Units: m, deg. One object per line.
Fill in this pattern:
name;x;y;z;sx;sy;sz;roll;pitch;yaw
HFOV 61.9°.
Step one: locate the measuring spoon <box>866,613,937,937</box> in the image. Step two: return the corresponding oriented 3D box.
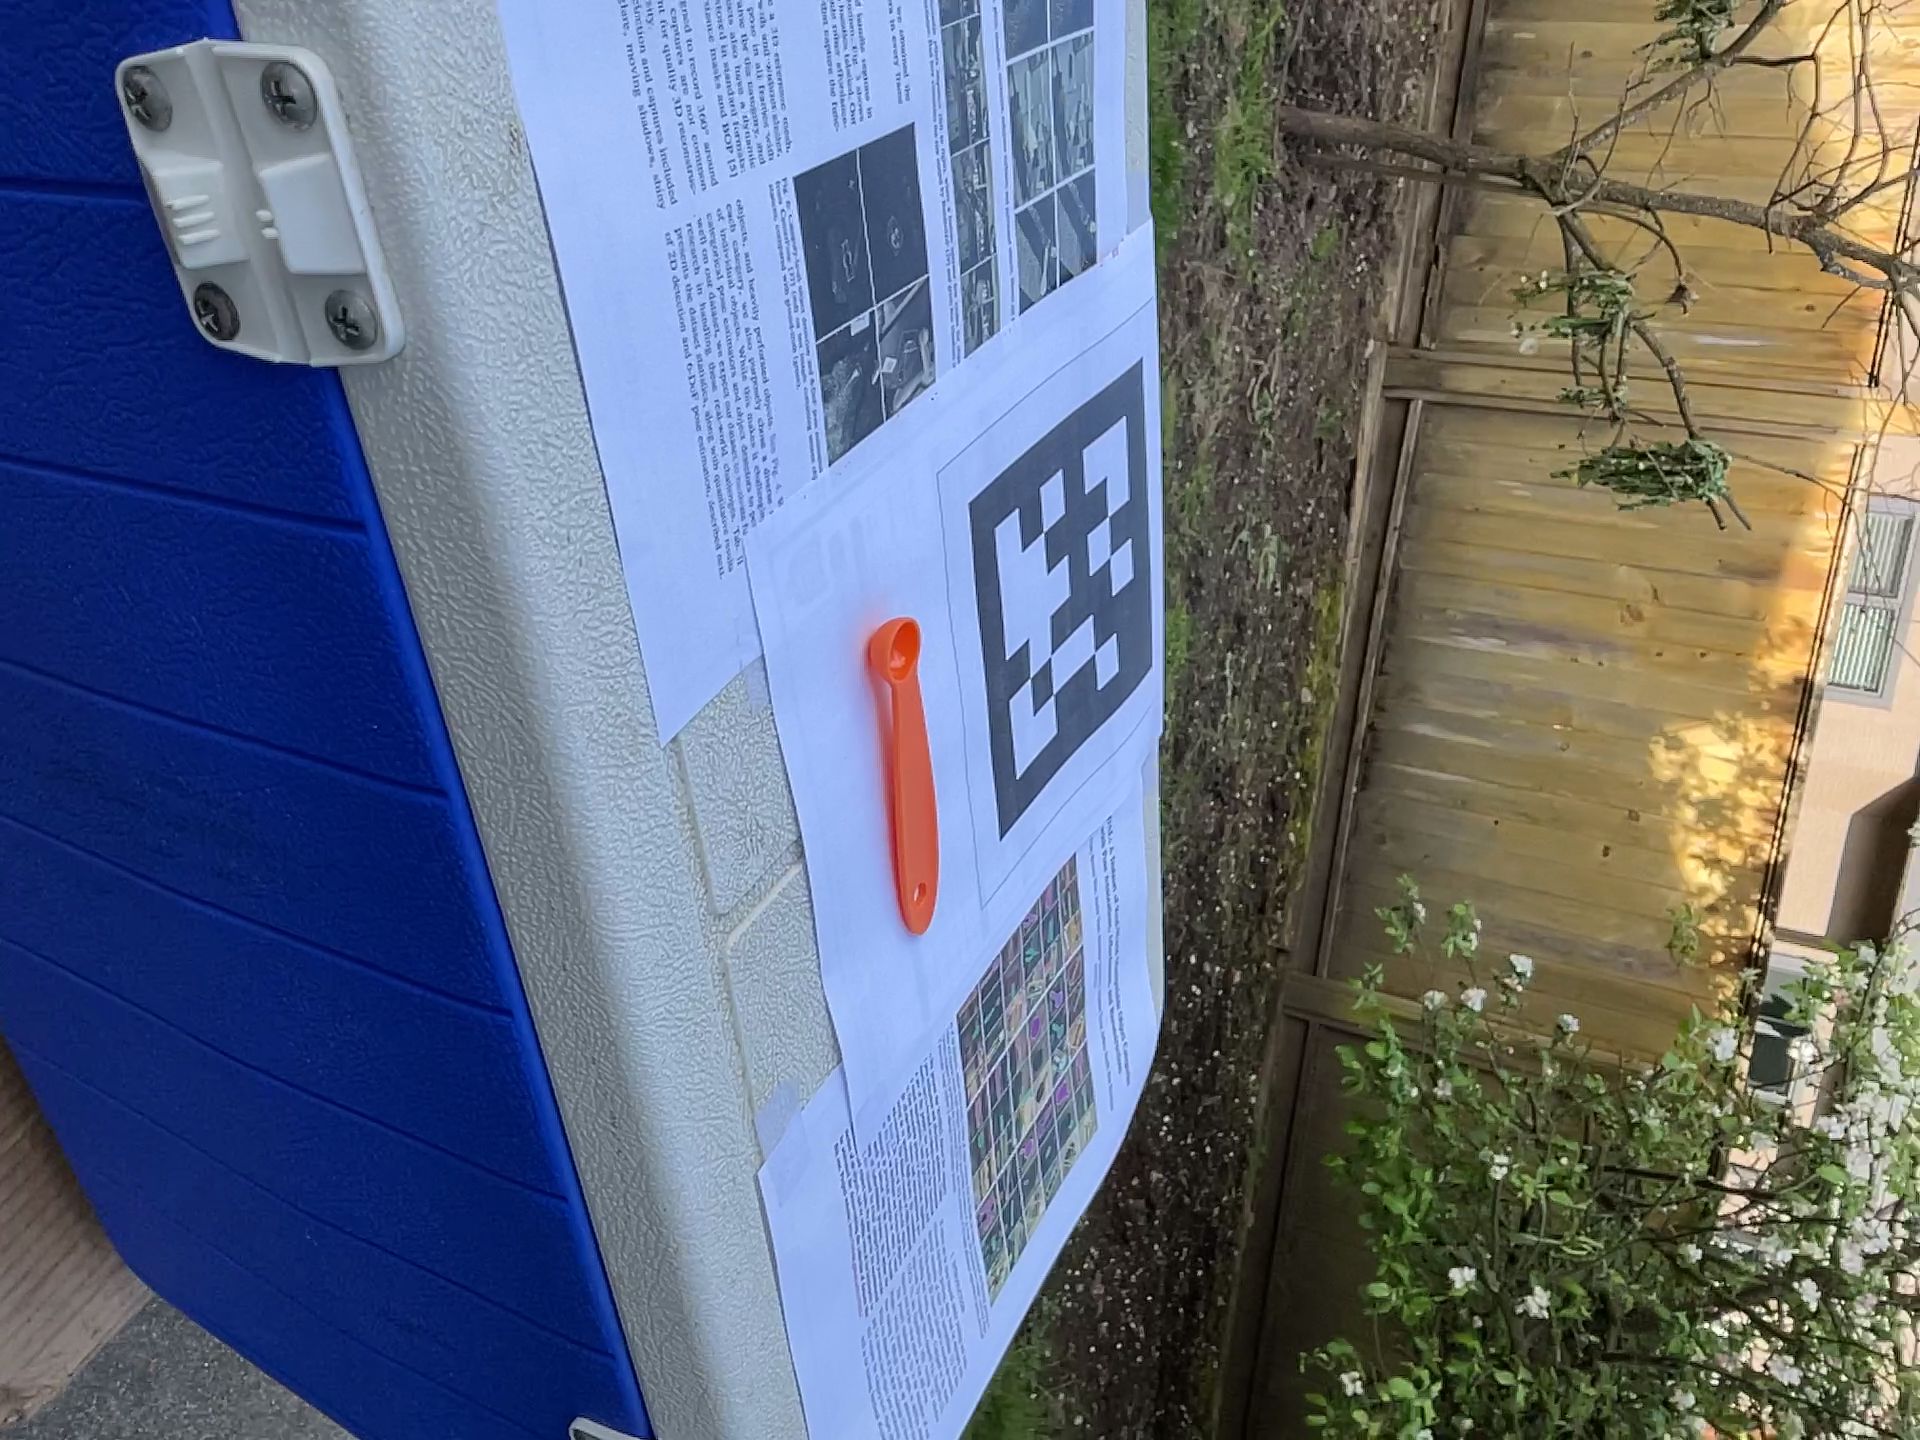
measuring spoon;-0.018;0.019;0.472;0.021;0.011;0.116;-49;146;-45
